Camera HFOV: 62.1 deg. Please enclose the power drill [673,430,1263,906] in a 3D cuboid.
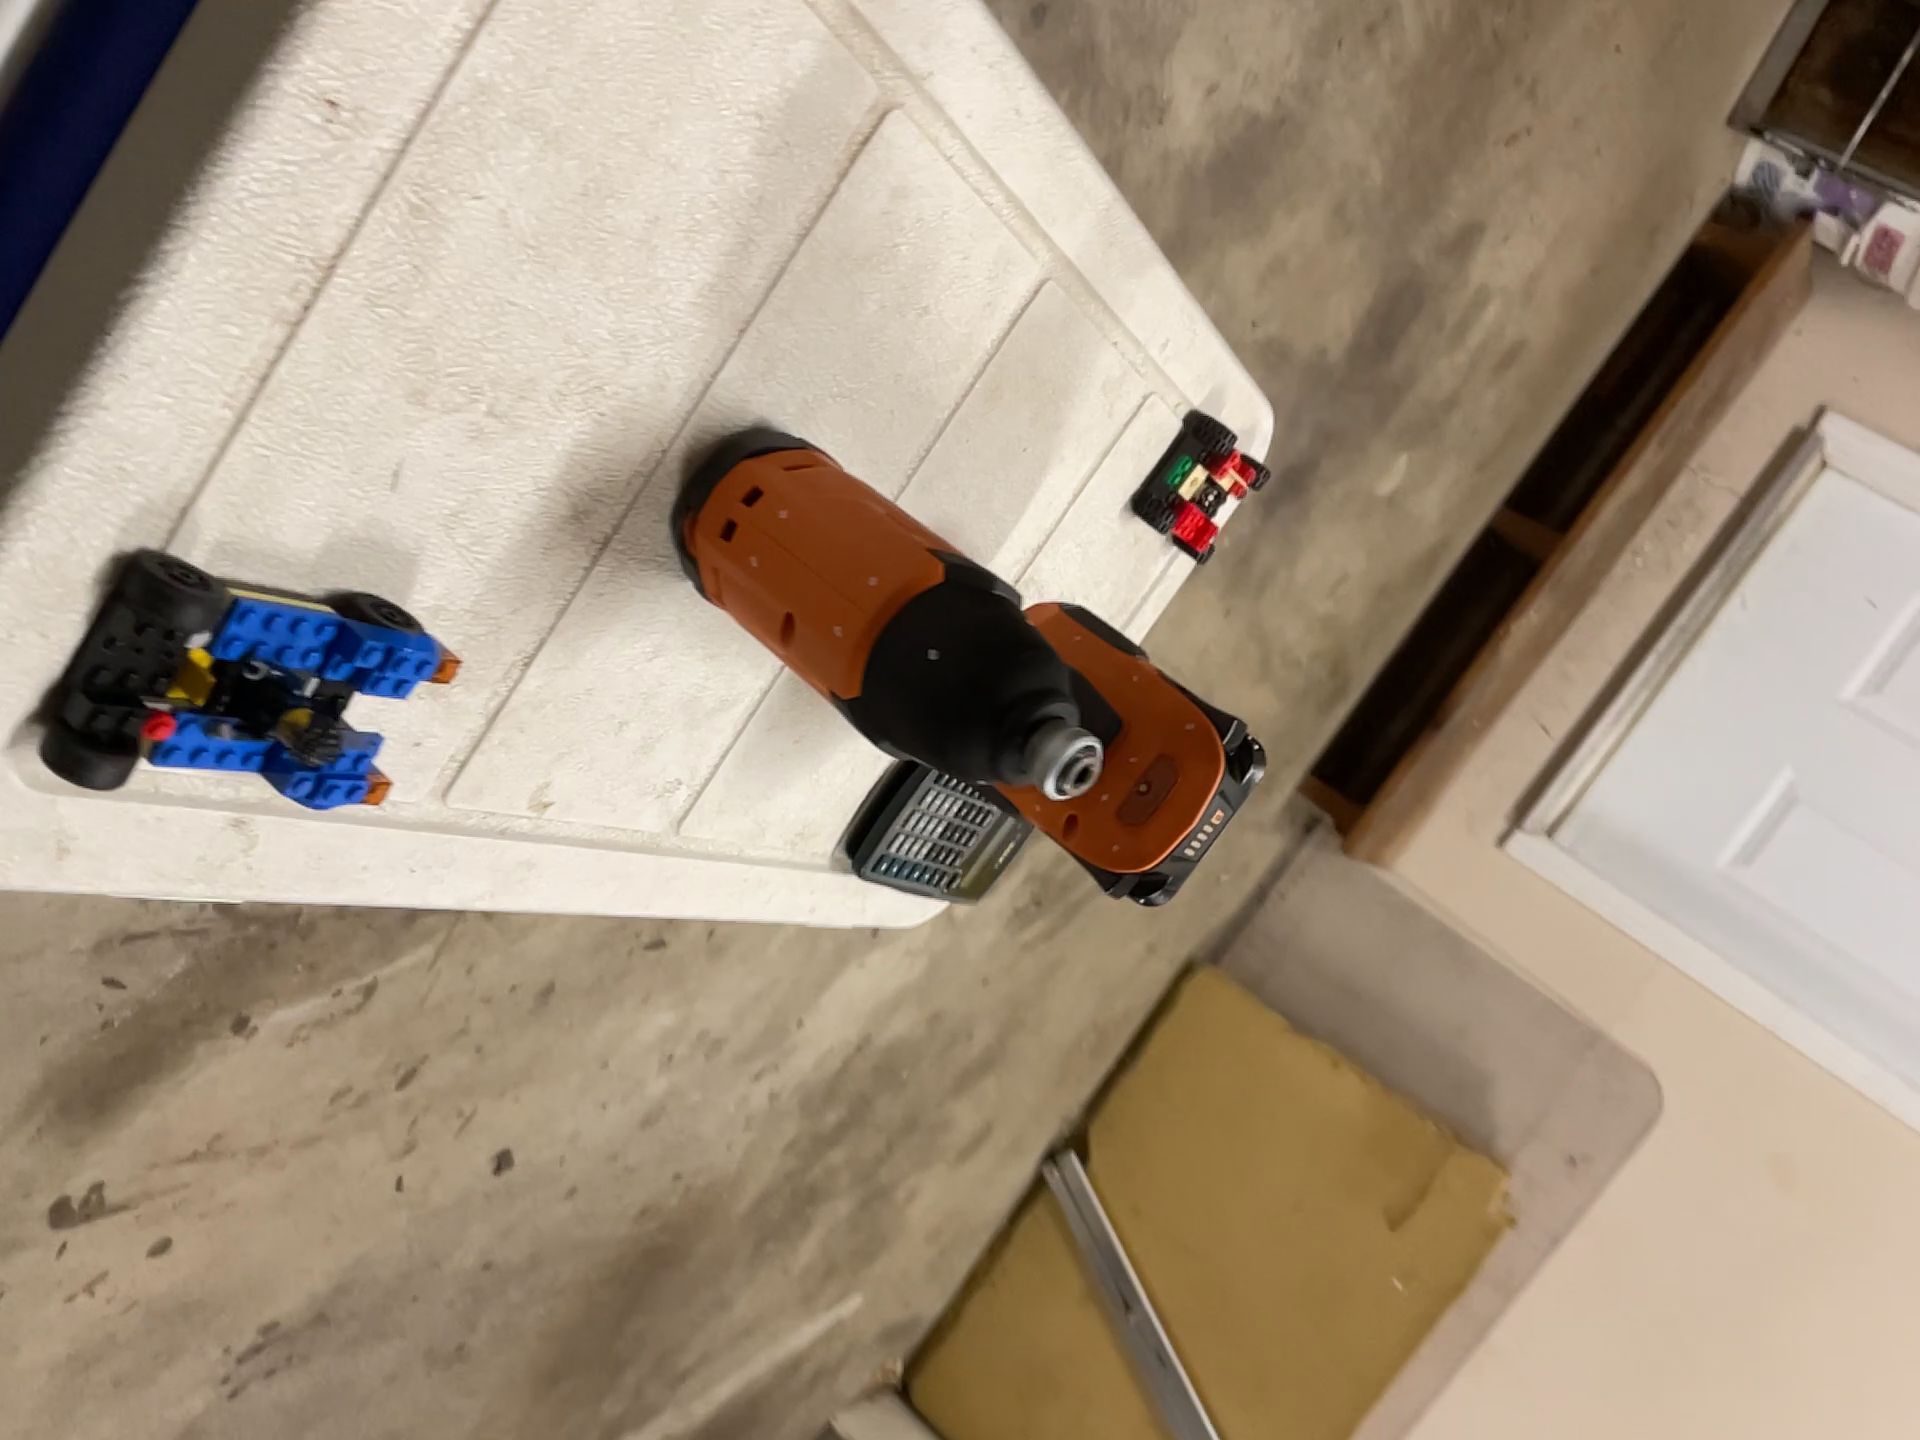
[{"bbox_3d":[0.020,-0.005,0.554,0.084,0.164,0.226,-54,145,5],"label":"power drill"}]
